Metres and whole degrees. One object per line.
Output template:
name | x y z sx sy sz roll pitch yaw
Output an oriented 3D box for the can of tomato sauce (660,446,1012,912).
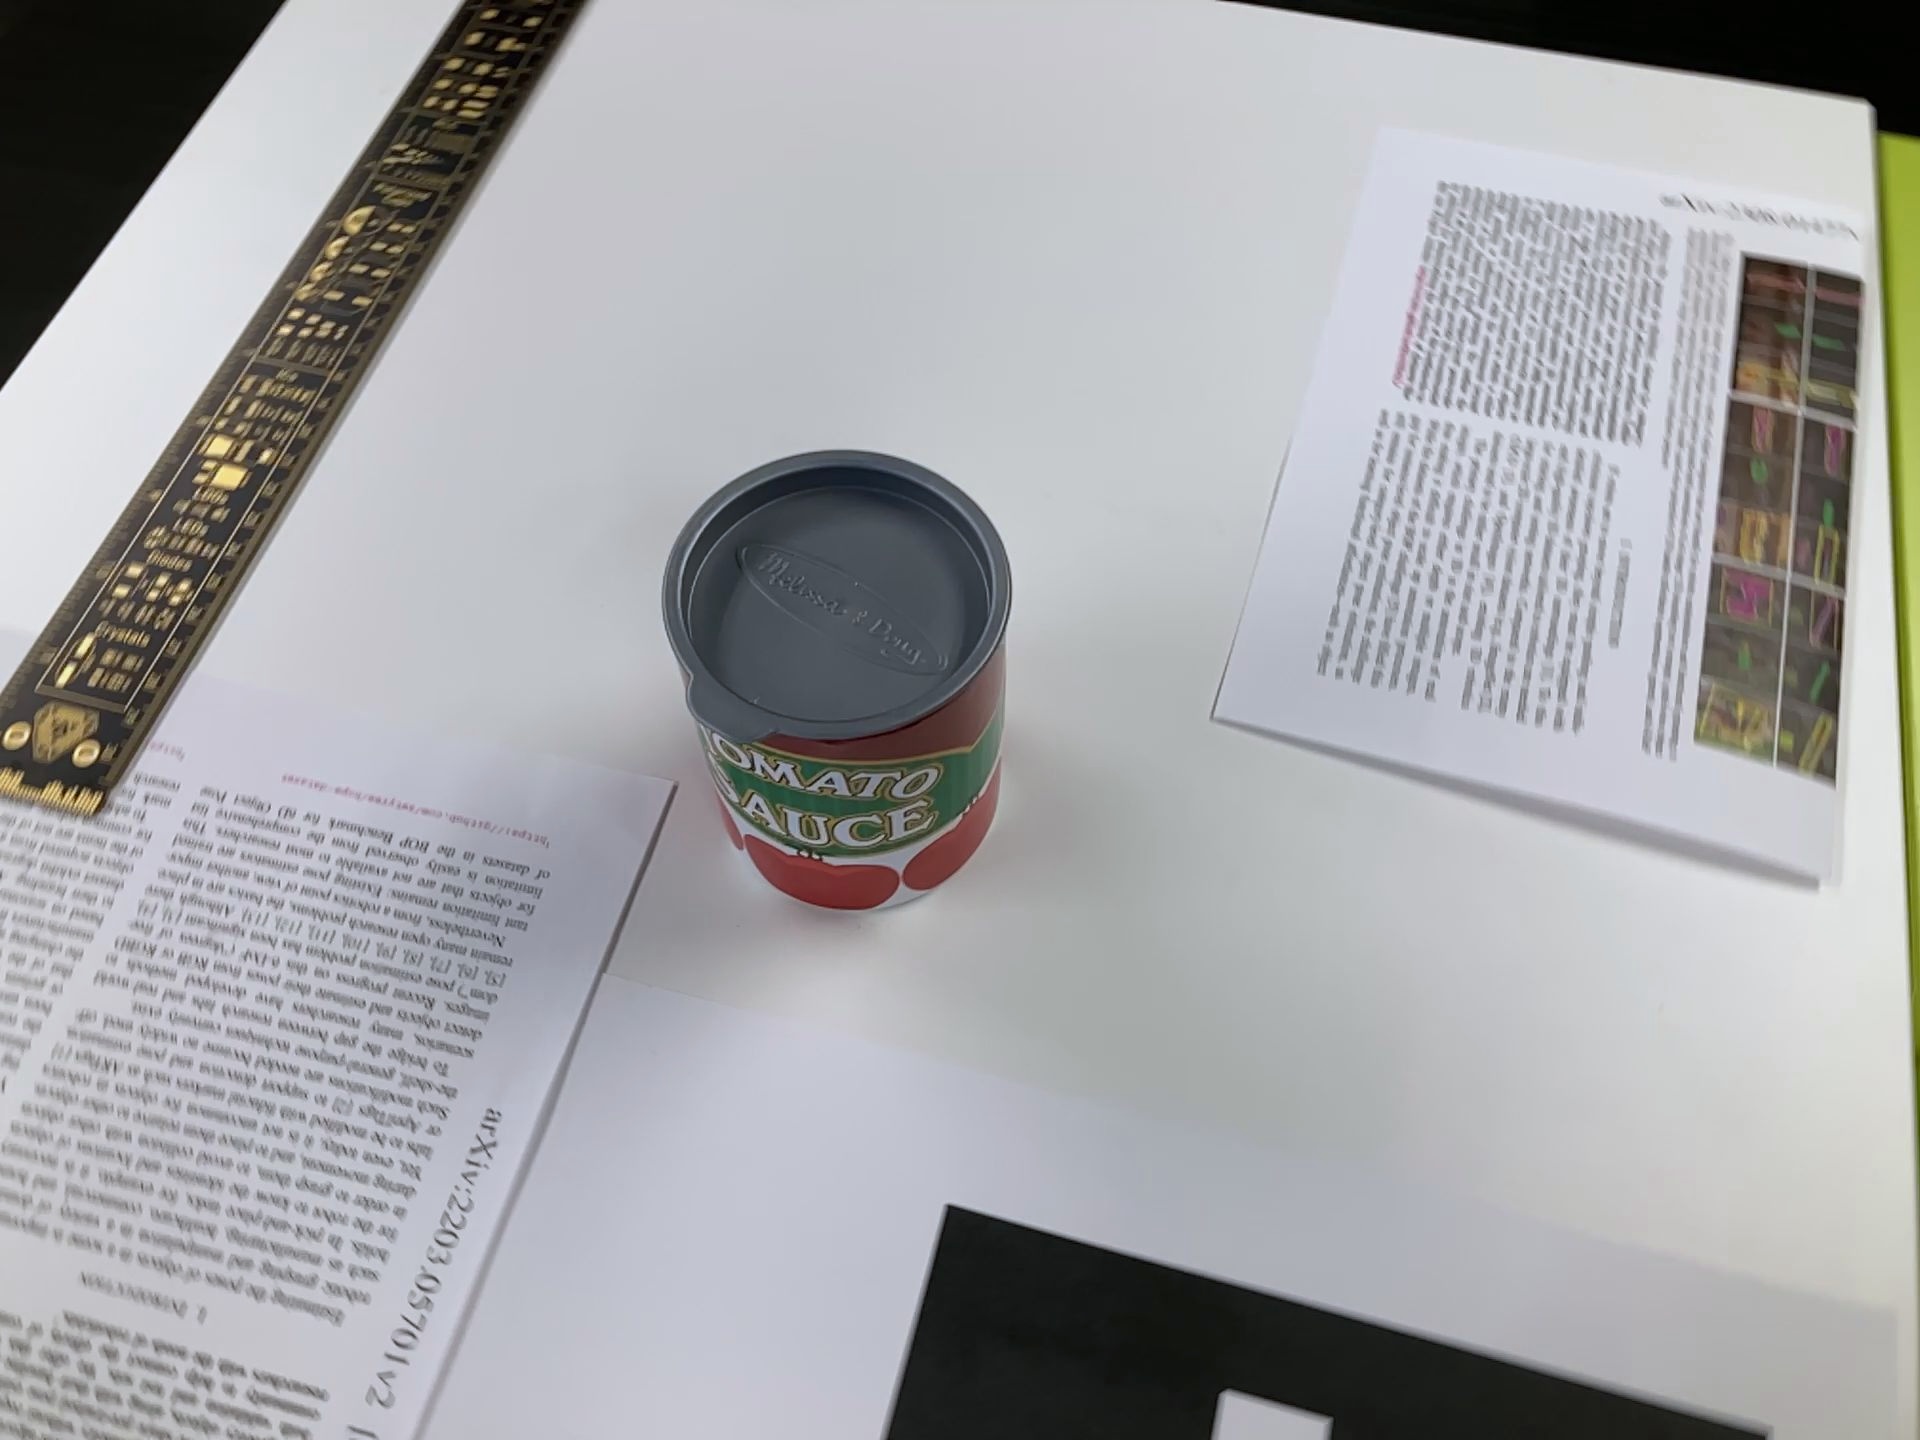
can of tomato sauce | -0.024 -0.004 0.335 0.071 0.083 0.071 0 60 0
